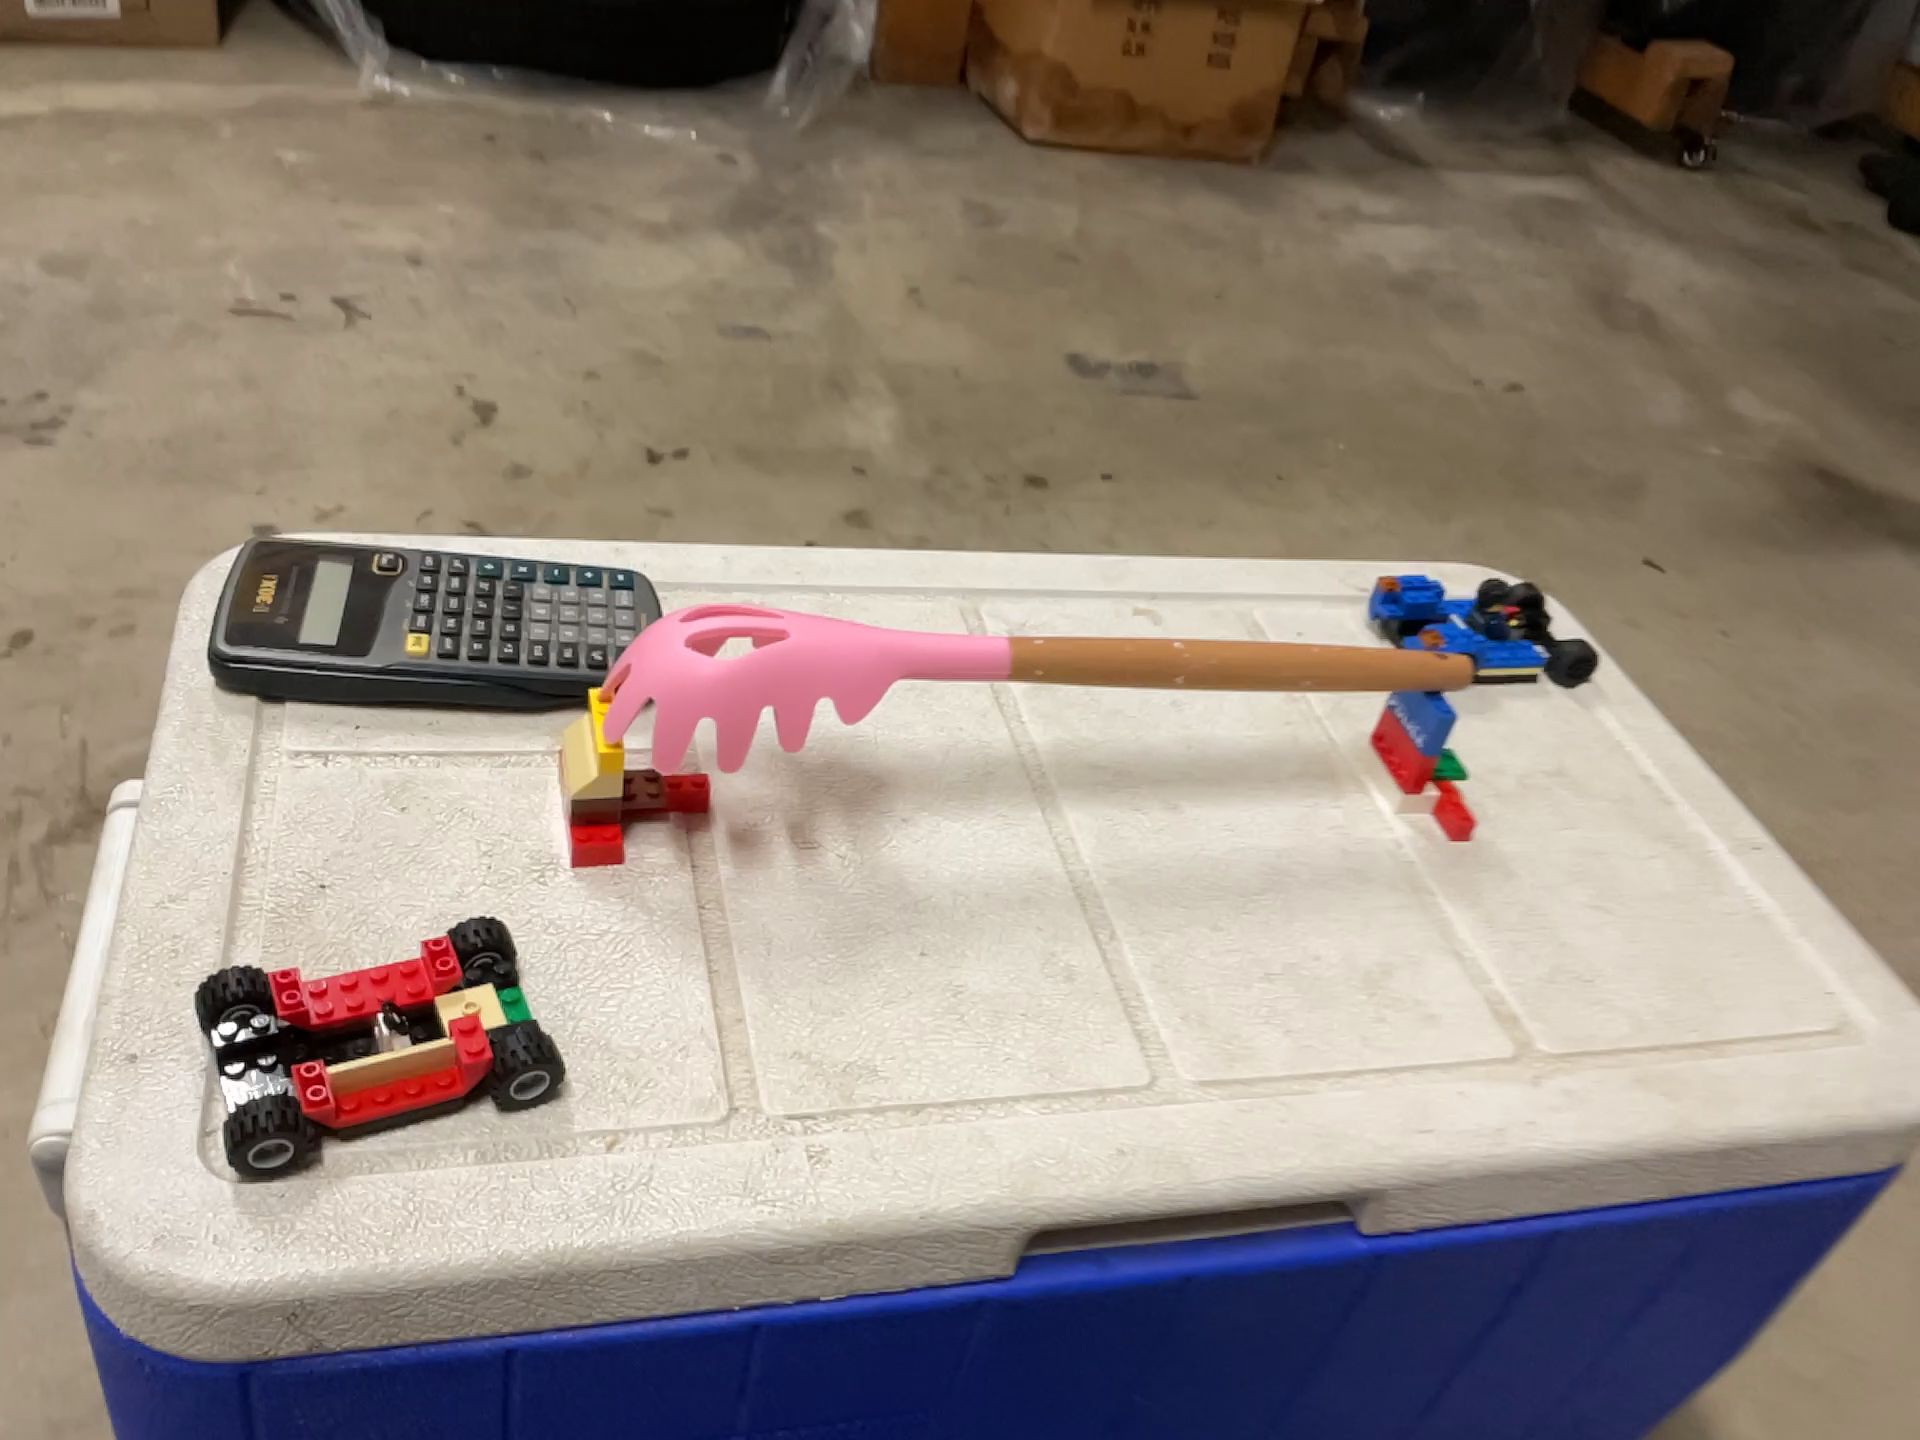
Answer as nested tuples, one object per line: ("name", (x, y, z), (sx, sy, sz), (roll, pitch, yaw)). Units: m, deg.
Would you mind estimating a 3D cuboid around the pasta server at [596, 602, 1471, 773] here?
("pasta server", (0.038, -0.014, 0.548), (0.316, 0.040, 0.060), (1, 37, -20))
